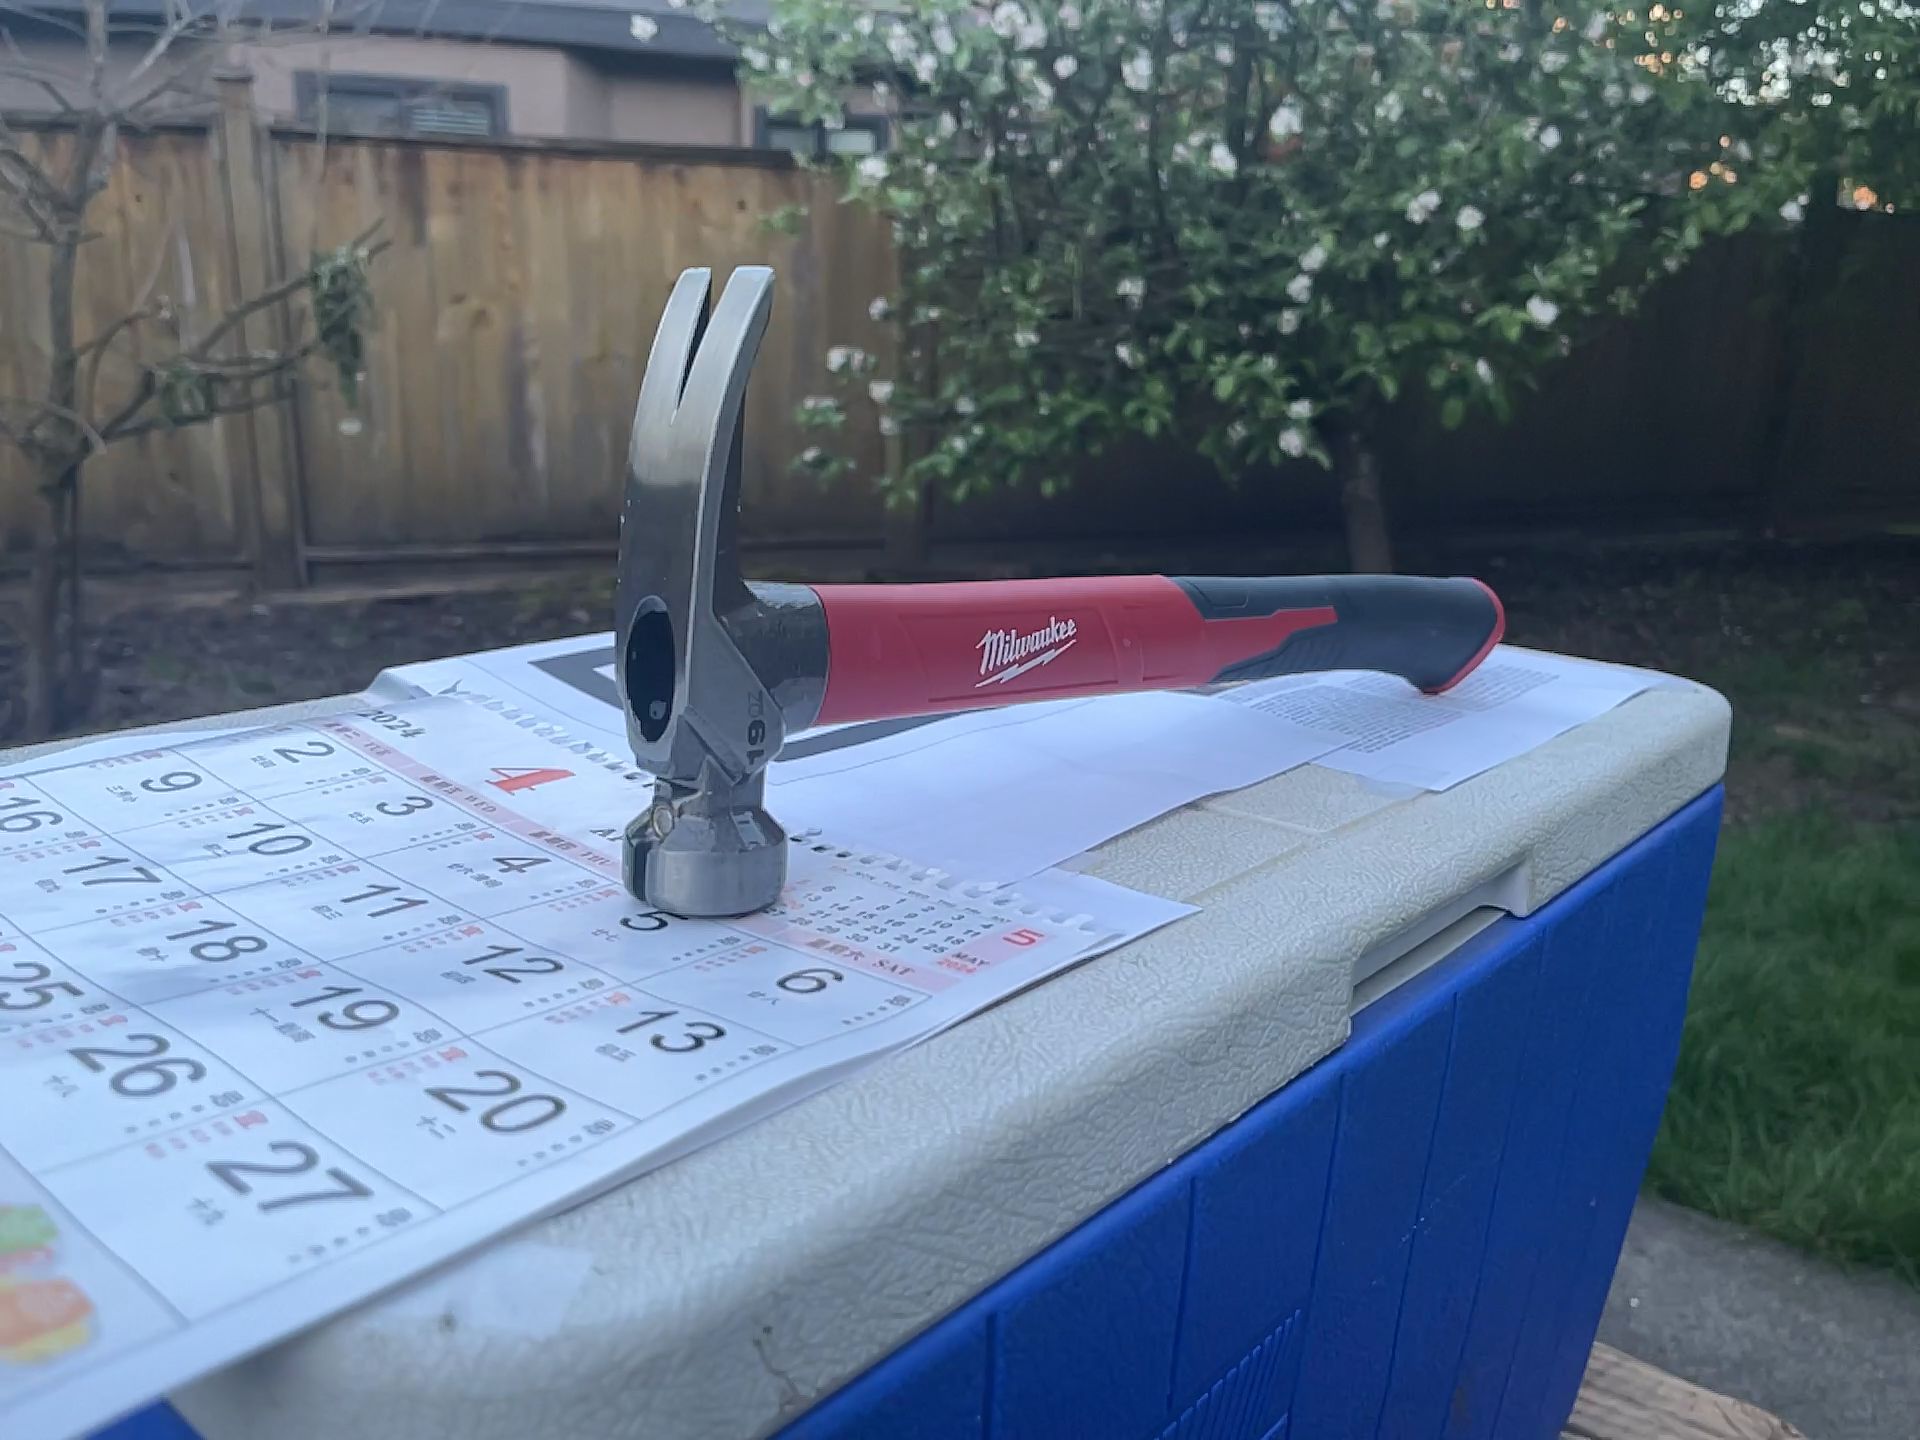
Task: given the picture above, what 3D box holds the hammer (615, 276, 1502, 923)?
[{"bbox_3d":[0.067,-0.041,0.474,0.038,0.143,0.386,16,16,42],"label":"hammer"}]
